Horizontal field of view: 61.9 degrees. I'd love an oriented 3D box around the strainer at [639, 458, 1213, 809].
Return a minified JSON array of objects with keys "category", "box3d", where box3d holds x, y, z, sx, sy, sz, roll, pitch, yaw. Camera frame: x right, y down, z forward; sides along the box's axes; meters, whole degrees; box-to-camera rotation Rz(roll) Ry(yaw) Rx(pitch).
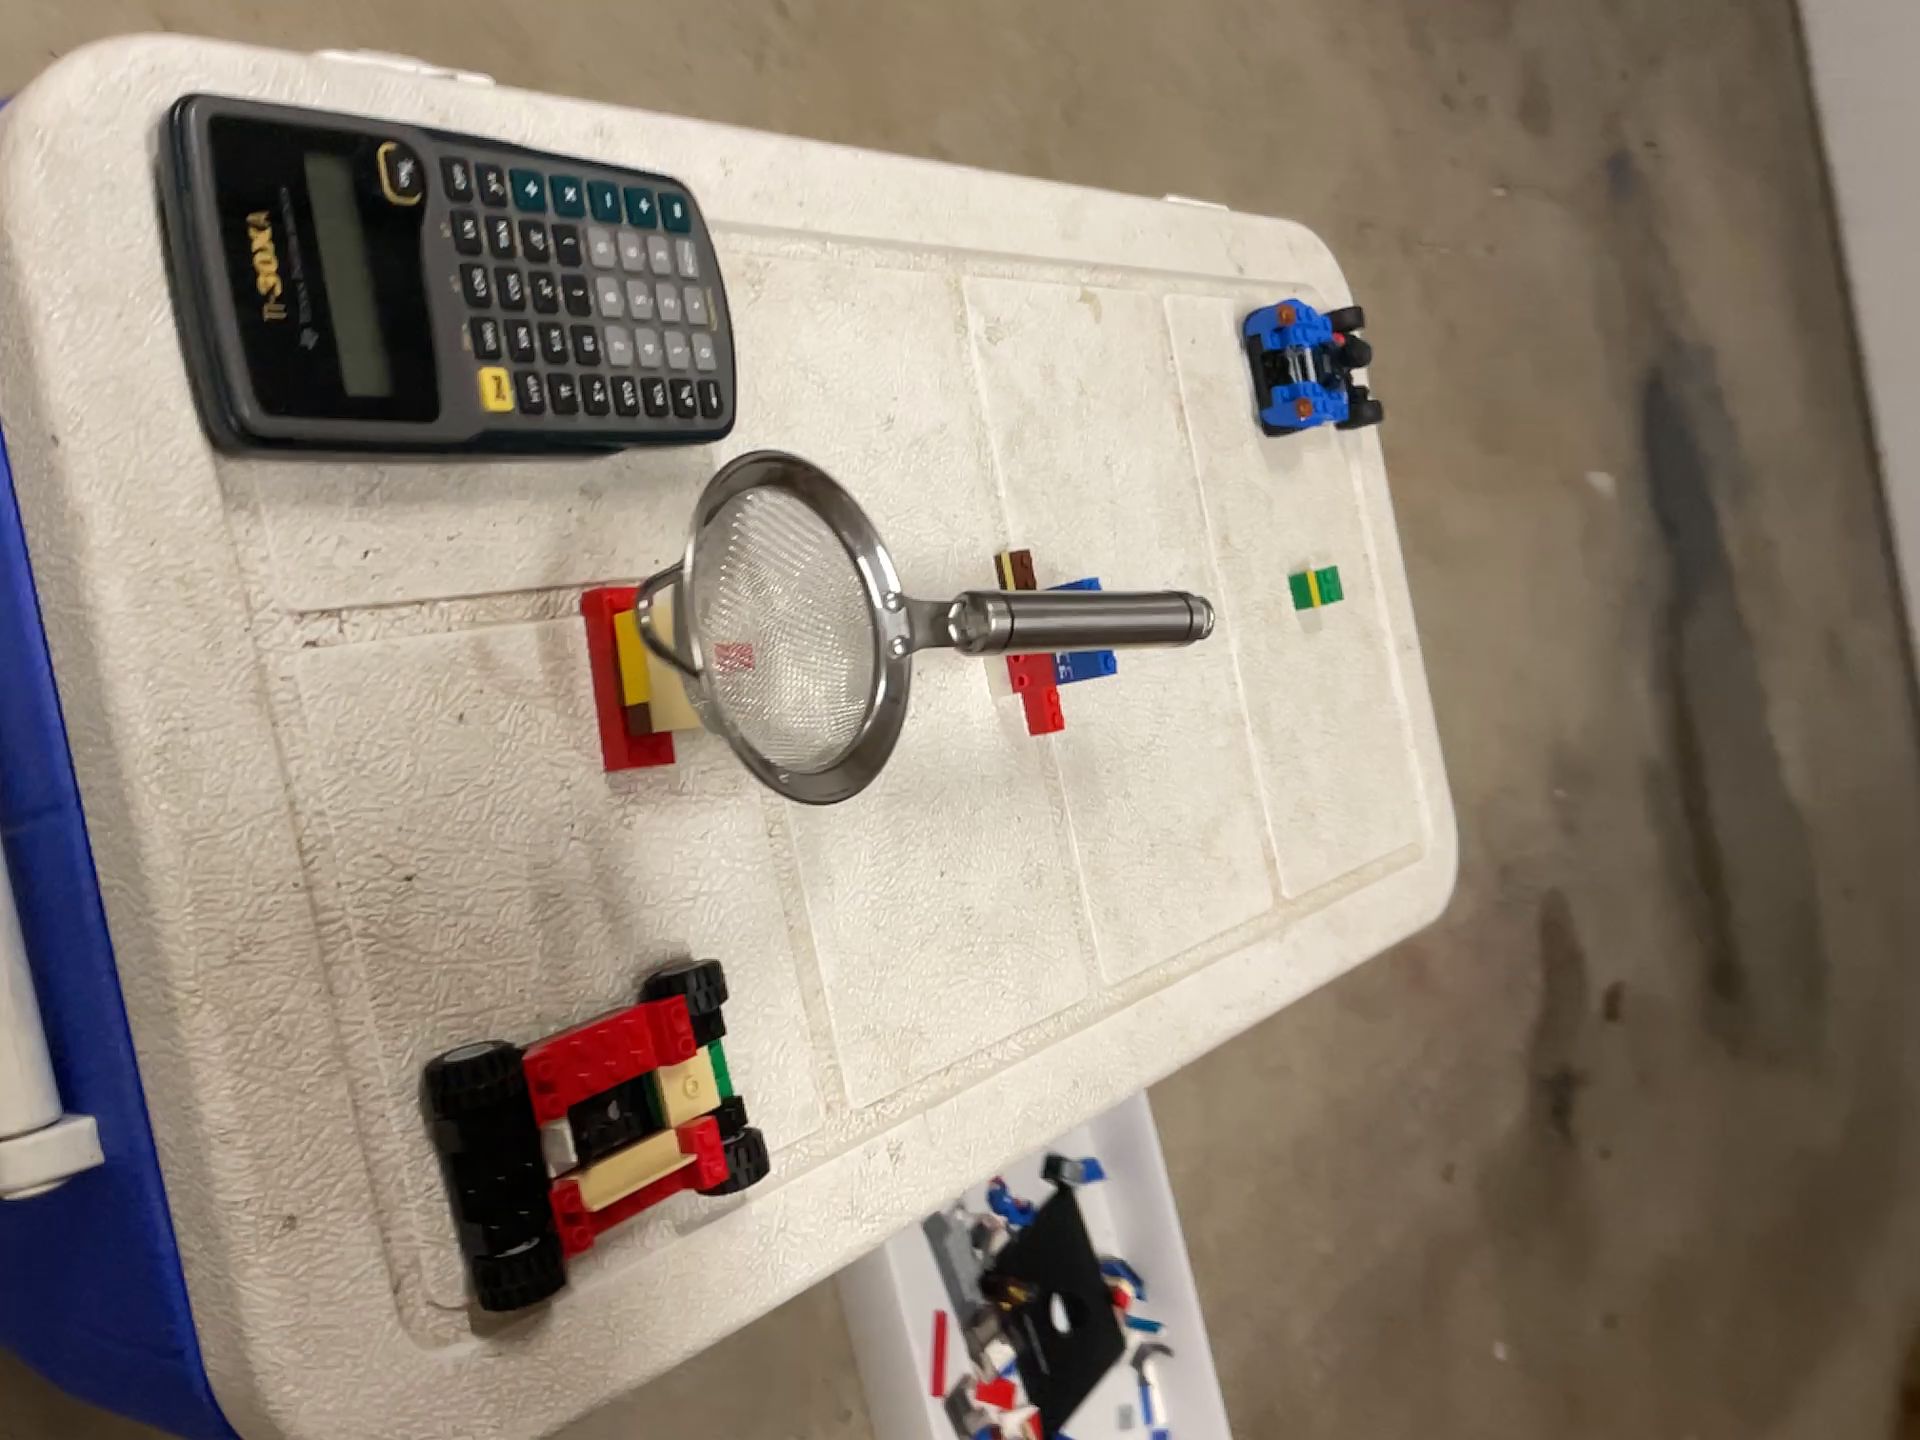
[{"category":"strainer","box3d":[0.000,-0.025,0.449,0.259,0.050,0.086,-6,88,-49]}]
